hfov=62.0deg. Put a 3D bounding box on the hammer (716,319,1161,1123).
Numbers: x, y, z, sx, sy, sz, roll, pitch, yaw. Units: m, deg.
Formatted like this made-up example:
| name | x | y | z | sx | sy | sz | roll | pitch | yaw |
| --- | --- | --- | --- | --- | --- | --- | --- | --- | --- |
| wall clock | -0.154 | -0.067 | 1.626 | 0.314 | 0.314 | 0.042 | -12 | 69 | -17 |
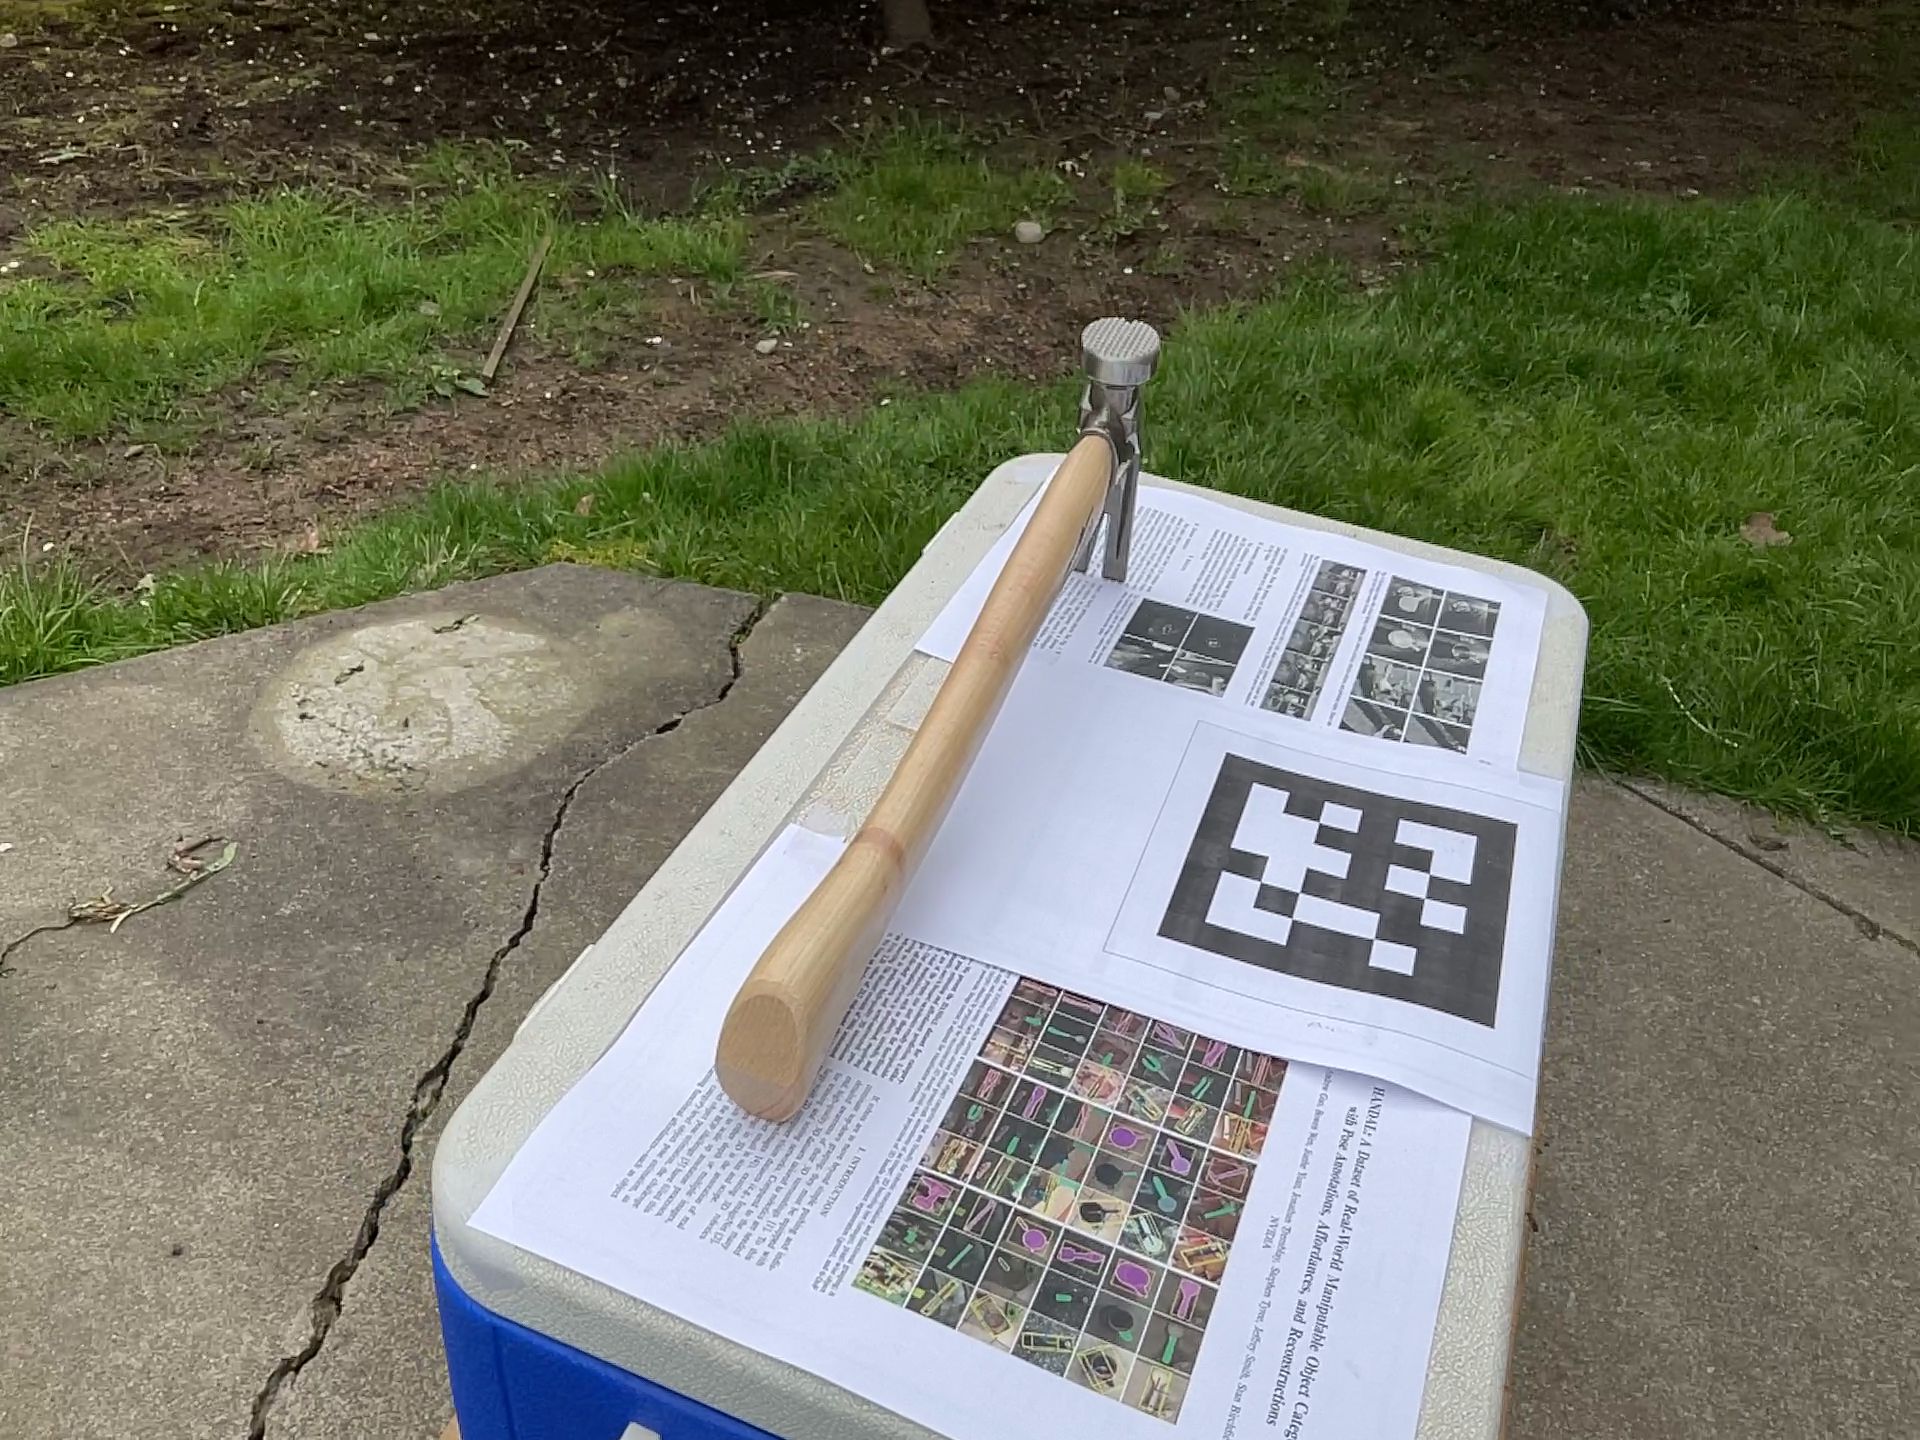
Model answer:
| name | x | y | z | sx | sy | sz | roll | pitch | yaw |
| --- | --- | --- | --- | --- | --- | --- | --- | --- | --- |
| hammer | 0.006 | -0.005 | 0.670 | 0.038 | 0.146 | 0.411 | 16 | 47 | 14 |
